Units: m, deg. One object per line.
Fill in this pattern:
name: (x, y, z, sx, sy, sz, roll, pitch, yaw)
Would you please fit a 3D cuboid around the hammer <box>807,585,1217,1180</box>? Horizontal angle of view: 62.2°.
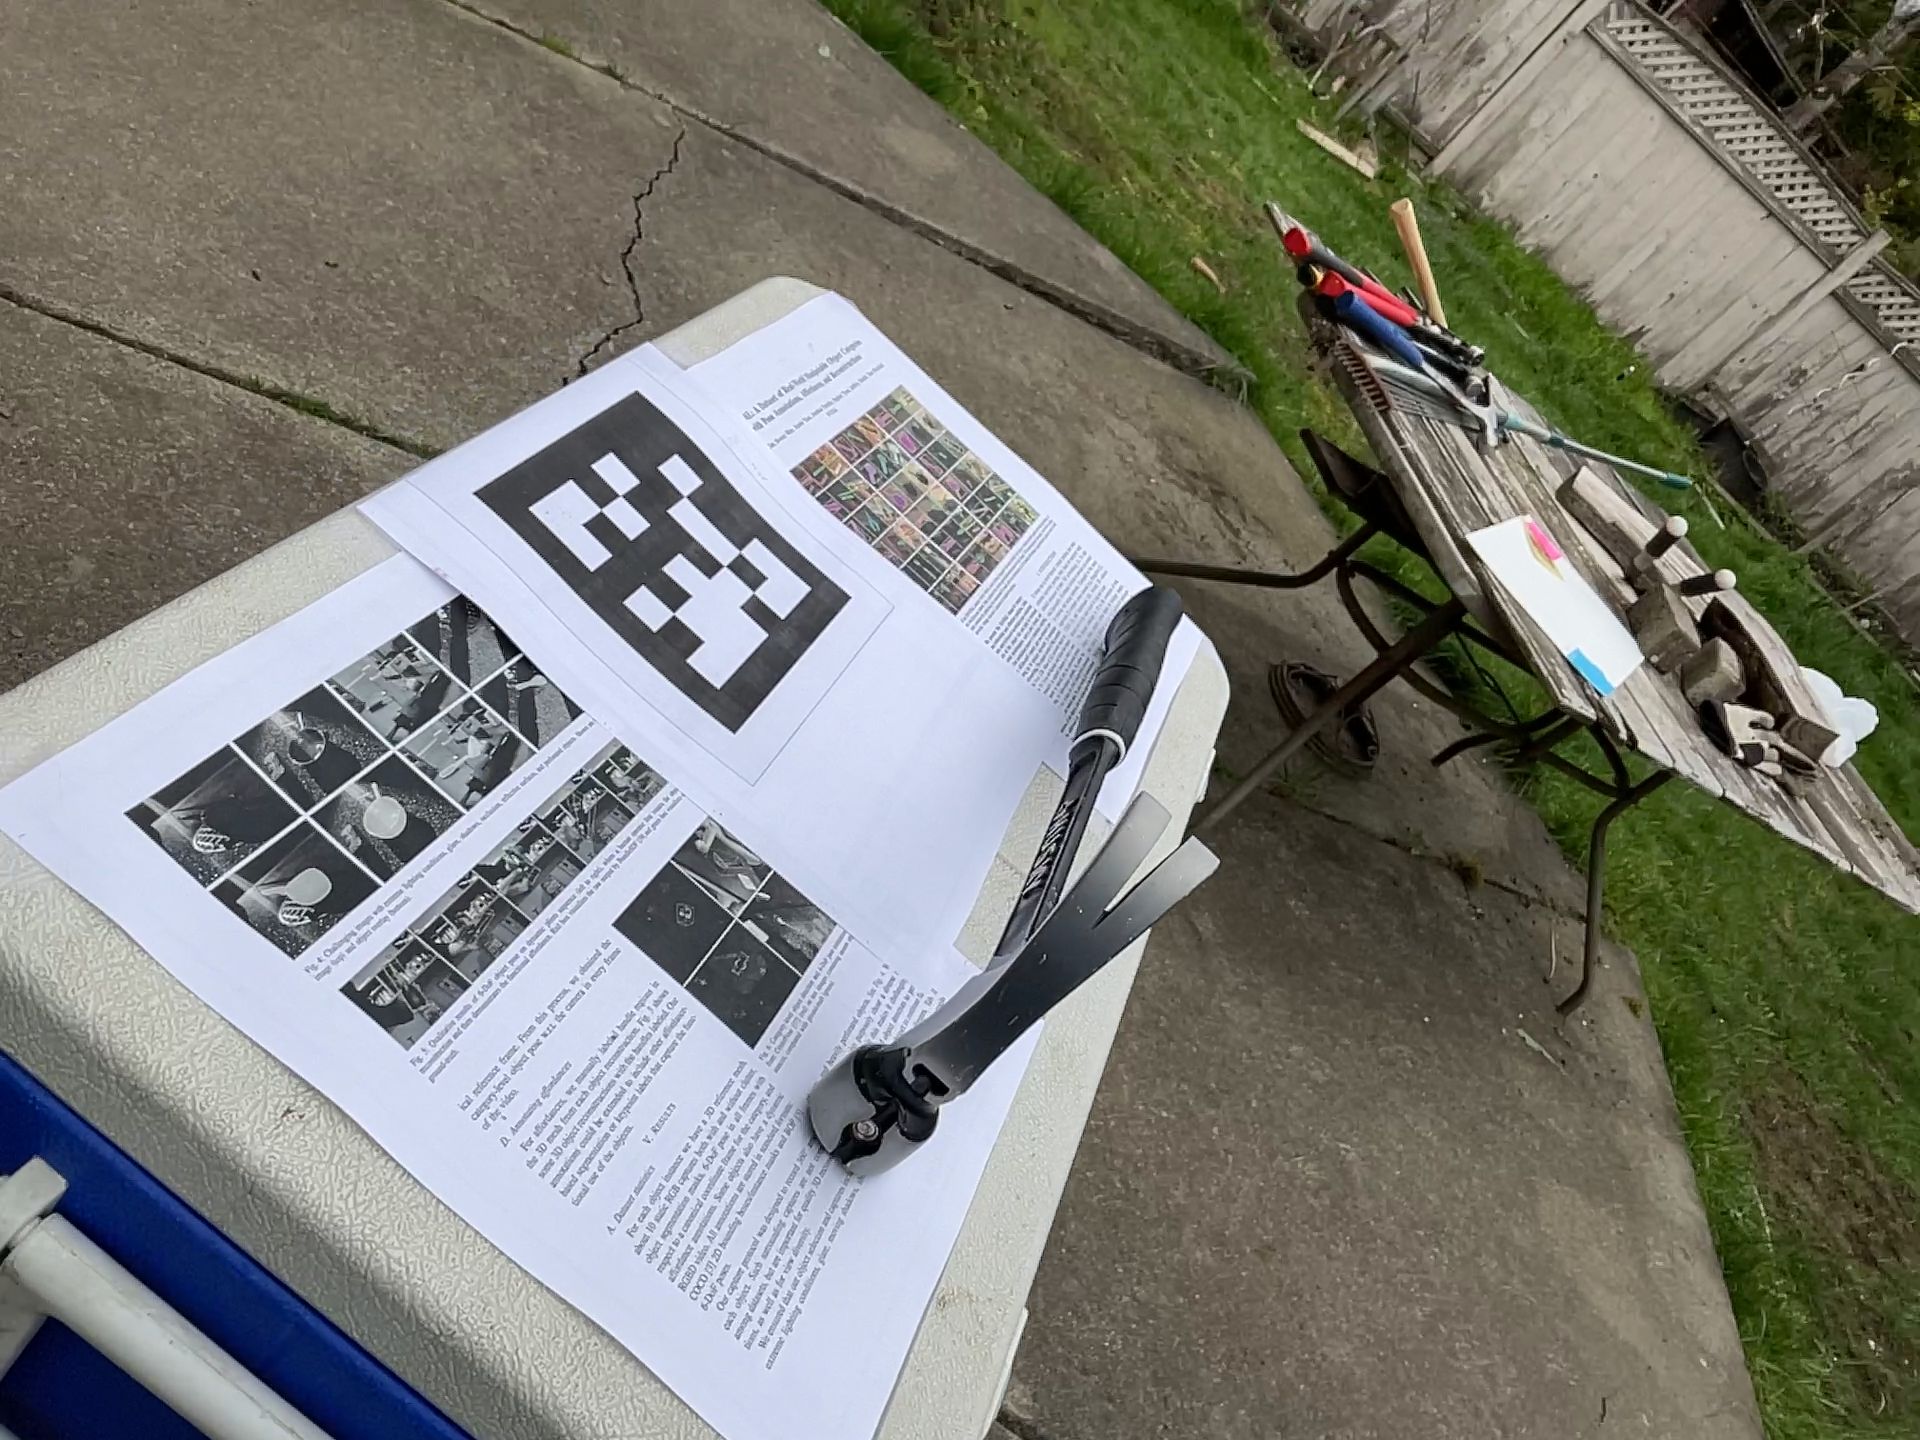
hammer: (0.054, 0.016, 0.641, 0.036, 0.149, 0.409, 43, 25, -5)
